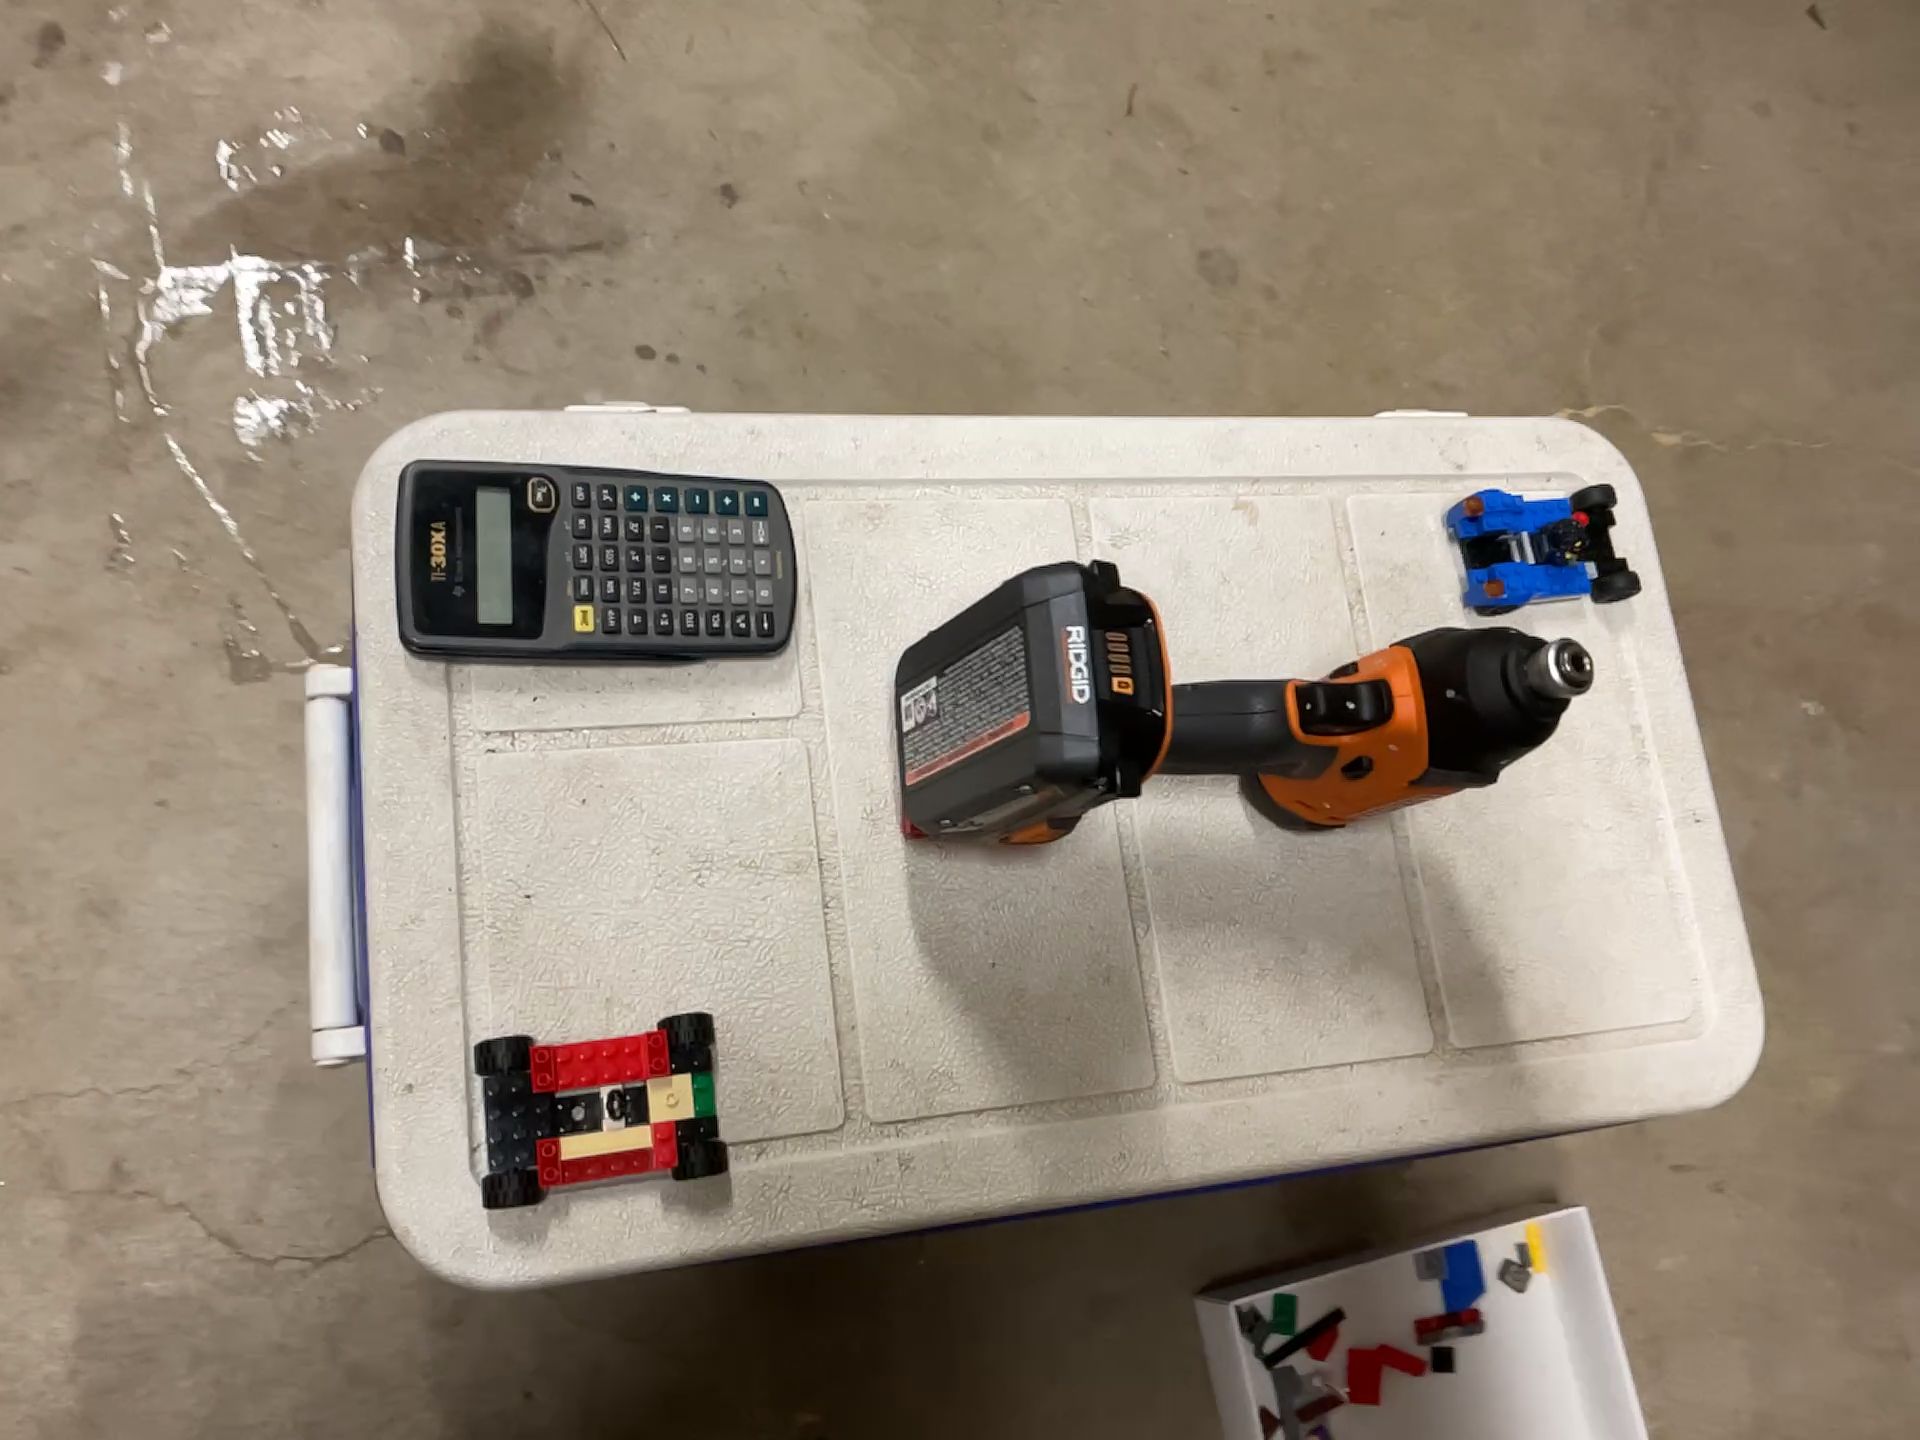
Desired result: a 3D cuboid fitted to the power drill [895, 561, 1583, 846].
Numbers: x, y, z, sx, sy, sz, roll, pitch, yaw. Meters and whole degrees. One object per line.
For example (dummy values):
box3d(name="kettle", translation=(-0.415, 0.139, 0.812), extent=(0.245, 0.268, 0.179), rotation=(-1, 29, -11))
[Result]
box3d(name="power drill", translation=(0.108, -0.003, 0.600), extent=(0.226, 0.164, 0.084), rotation=(3, 74, -27))
